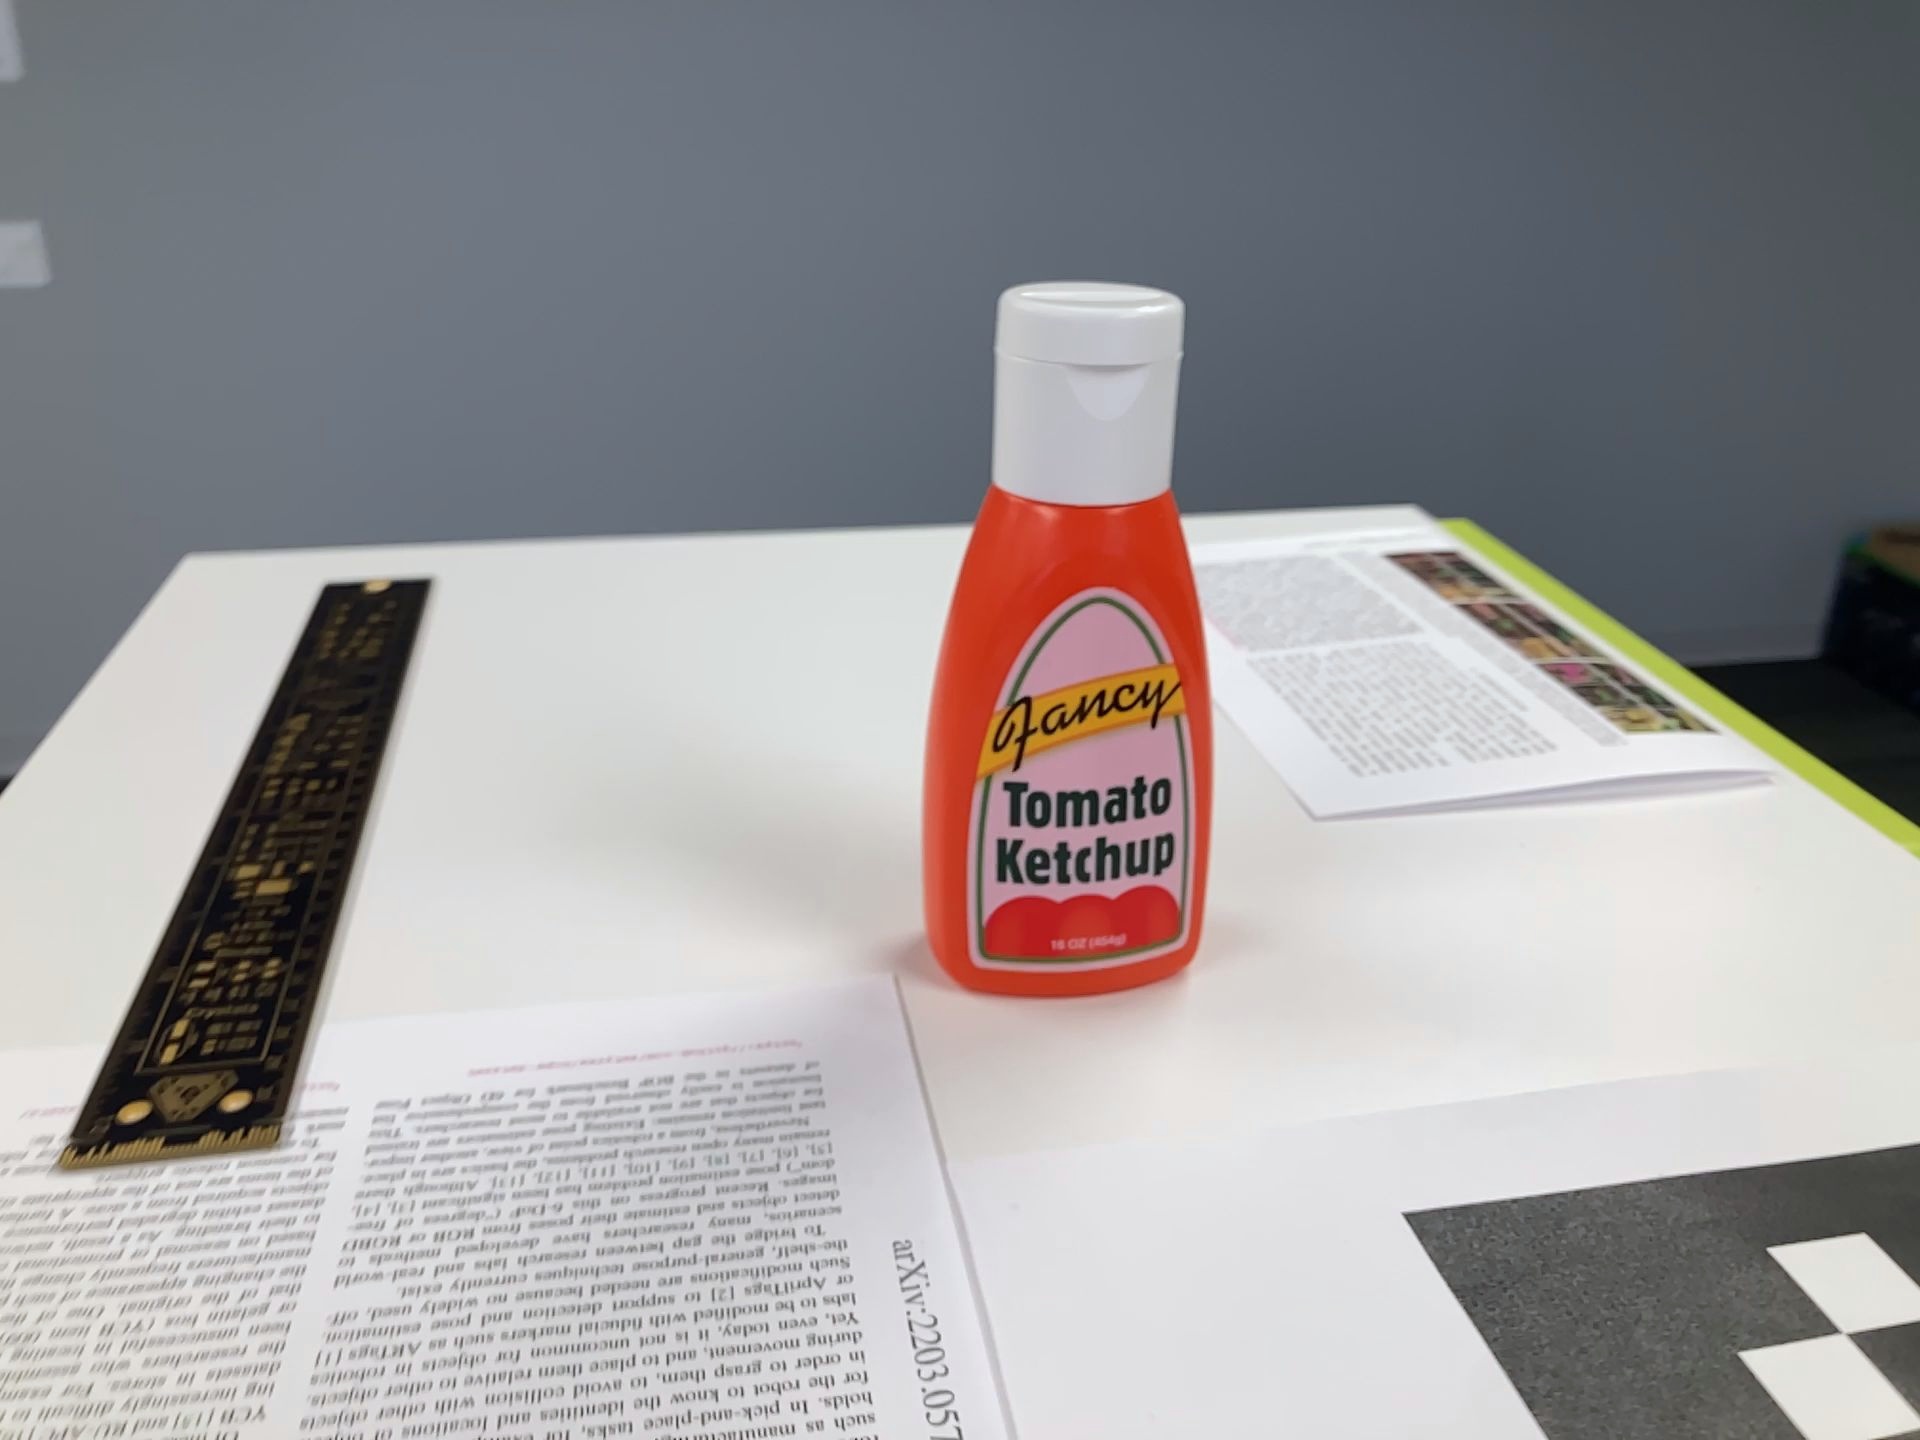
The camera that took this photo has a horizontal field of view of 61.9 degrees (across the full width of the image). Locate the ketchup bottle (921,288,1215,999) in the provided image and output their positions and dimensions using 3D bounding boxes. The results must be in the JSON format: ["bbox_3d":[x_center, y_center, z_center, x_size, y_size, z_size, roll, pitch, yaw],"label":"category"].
[{"bbox_3d":[0.024,-0.014,0.342,0.065,0.149,0.043,-3,23,-9],"label":"ketchup bottle"}]
